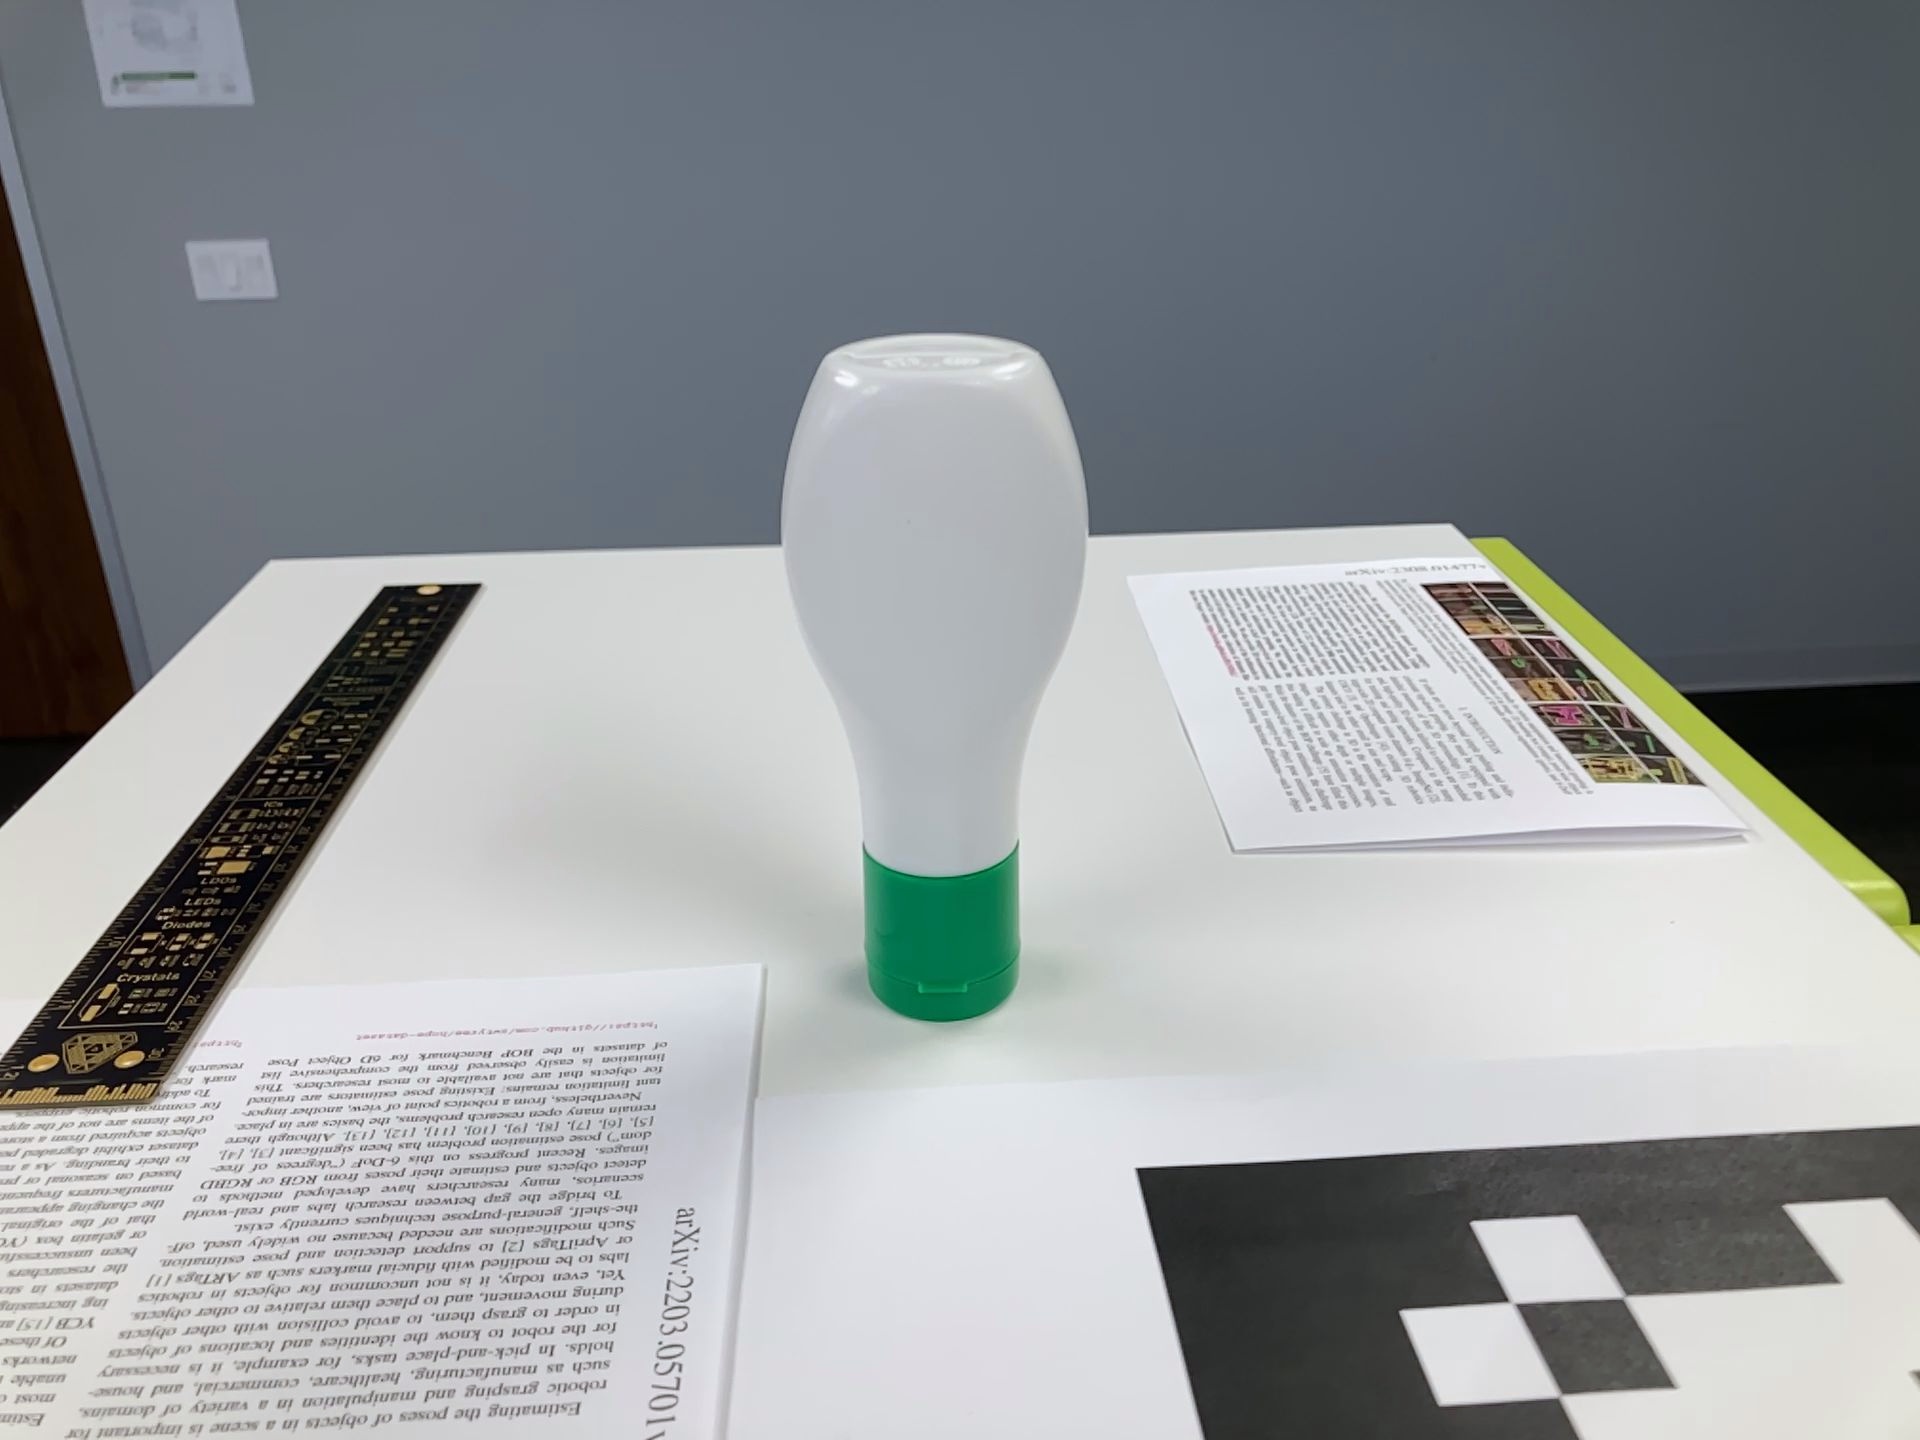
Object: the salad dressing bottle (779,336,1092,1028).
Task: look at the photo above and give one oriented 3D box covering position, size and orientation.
[{"bbox_3d":[-0.005,-0.005,0.343,0.064,0.147,0.044,-1,24,-1],"label":"salad dressing bottle"}]
